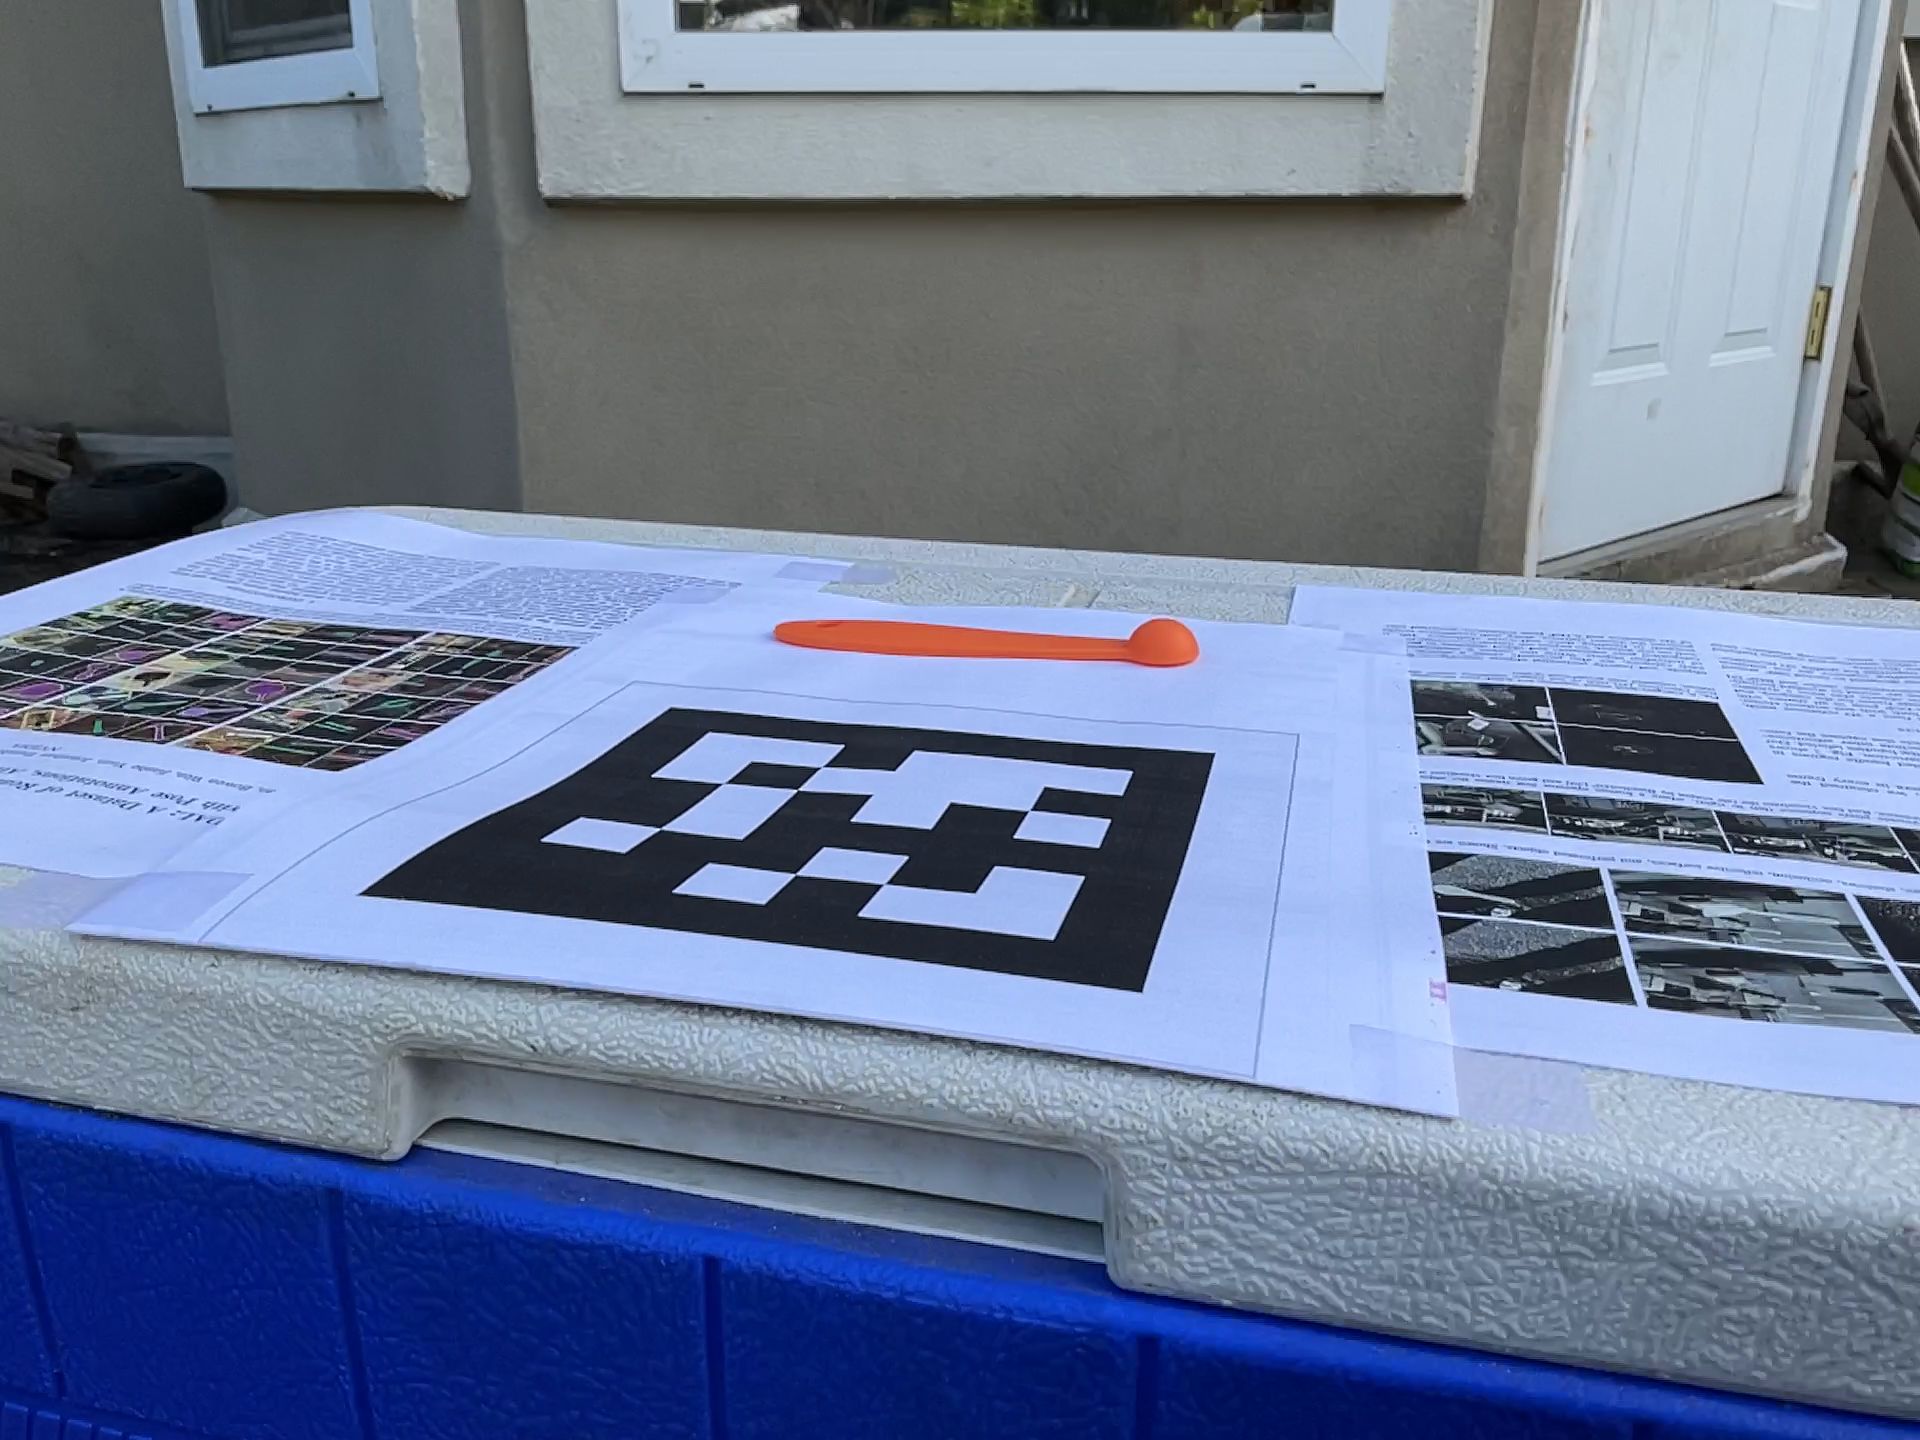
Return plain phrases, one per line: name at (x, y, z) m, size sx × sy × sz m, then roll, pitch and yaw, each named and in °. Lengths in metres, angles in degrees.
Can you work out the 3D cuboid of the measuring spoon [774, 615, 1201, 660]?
measuring spoon at (0.006, -0.025, 0.433) m, size 0.117 × 0.011 × 0.021 m, roll 3°, pitch 13°, yaw 10°
